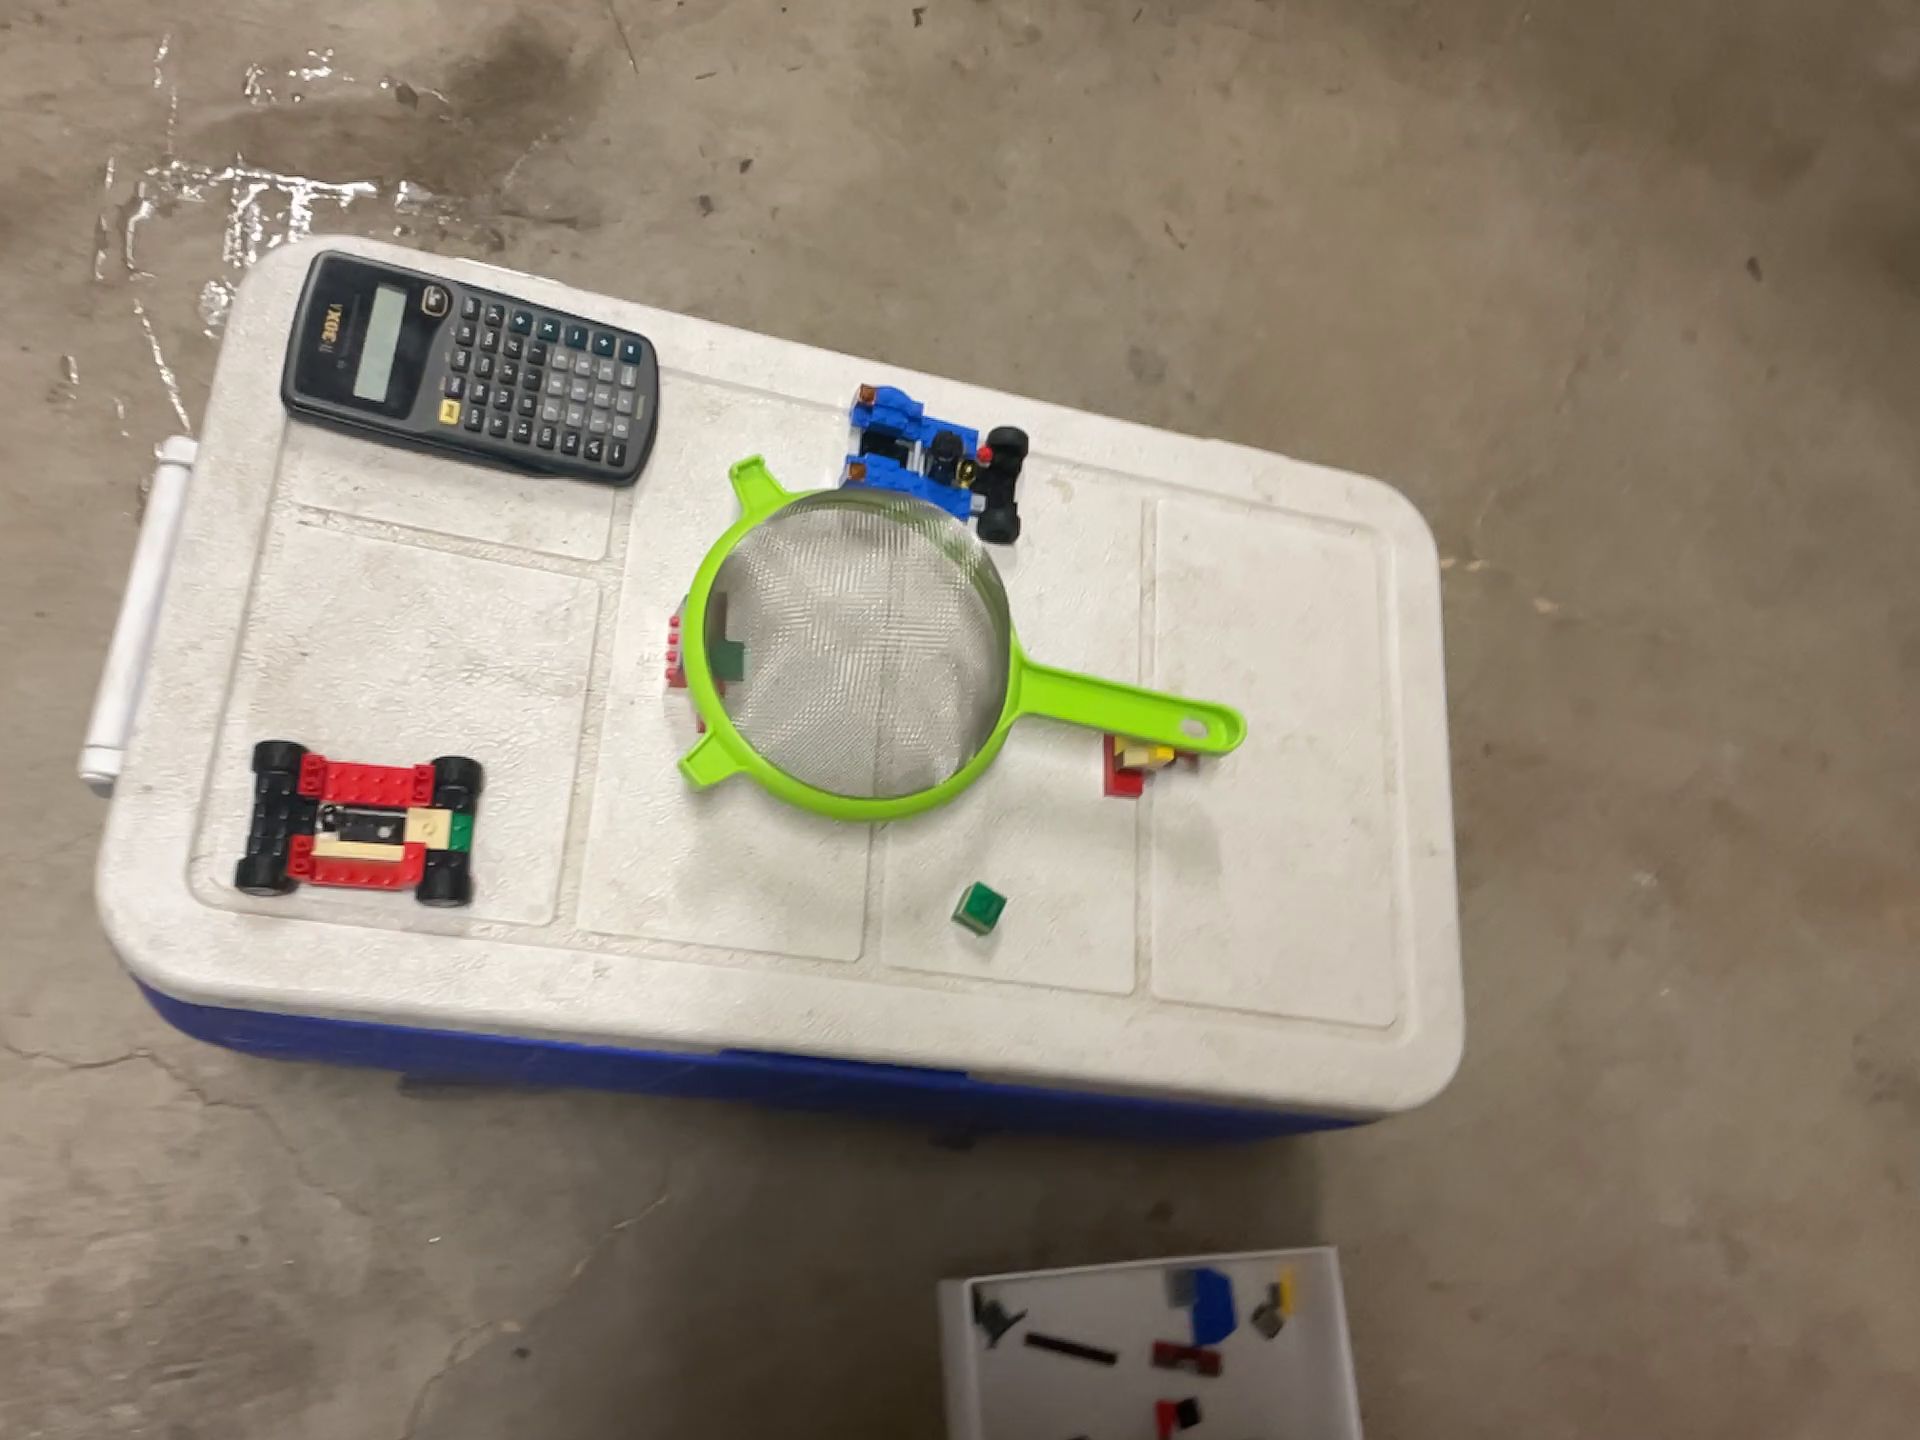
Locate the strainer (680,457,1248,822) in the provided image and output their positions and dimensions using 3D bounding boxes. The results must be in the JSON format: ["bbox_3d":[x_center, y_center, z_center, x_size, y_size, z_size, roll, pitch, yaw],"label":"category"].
[{"bbox_3d":[0.015,-0.028,0.676,0.256,0.069,0.152,12,67,-15],"label":"strainer"}]
